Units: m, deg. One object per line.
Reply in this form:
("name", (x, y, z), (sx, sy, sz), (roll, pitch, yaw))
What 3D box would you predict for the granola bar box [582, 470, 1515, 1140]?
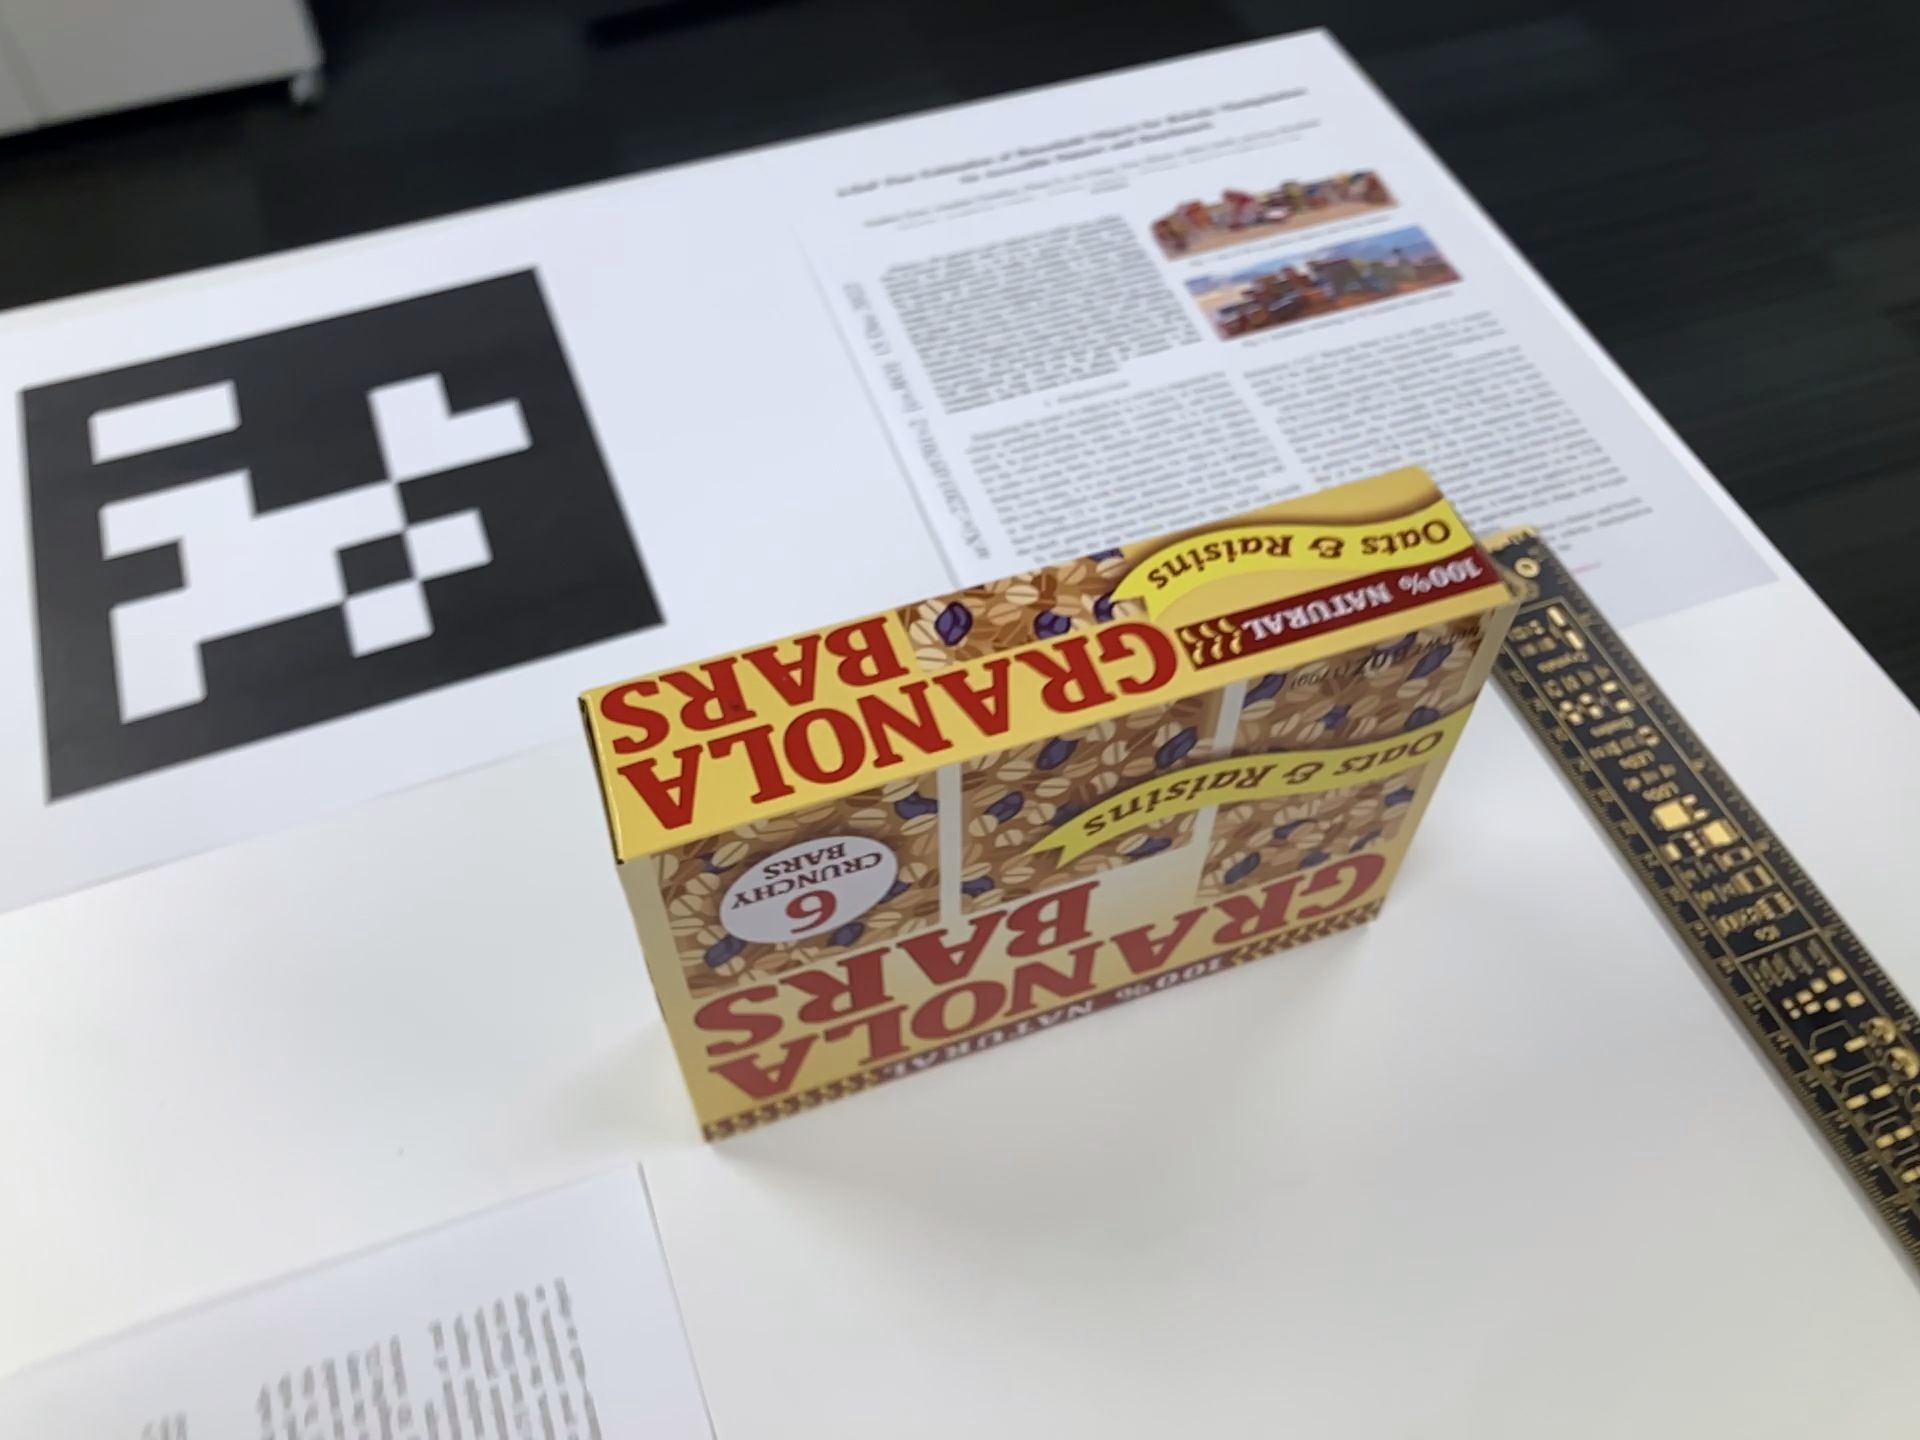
("granola bar box", (0.016, 0.022, 0.332), (0.165, 0.124, 0.039), (-16, 56, -12))
